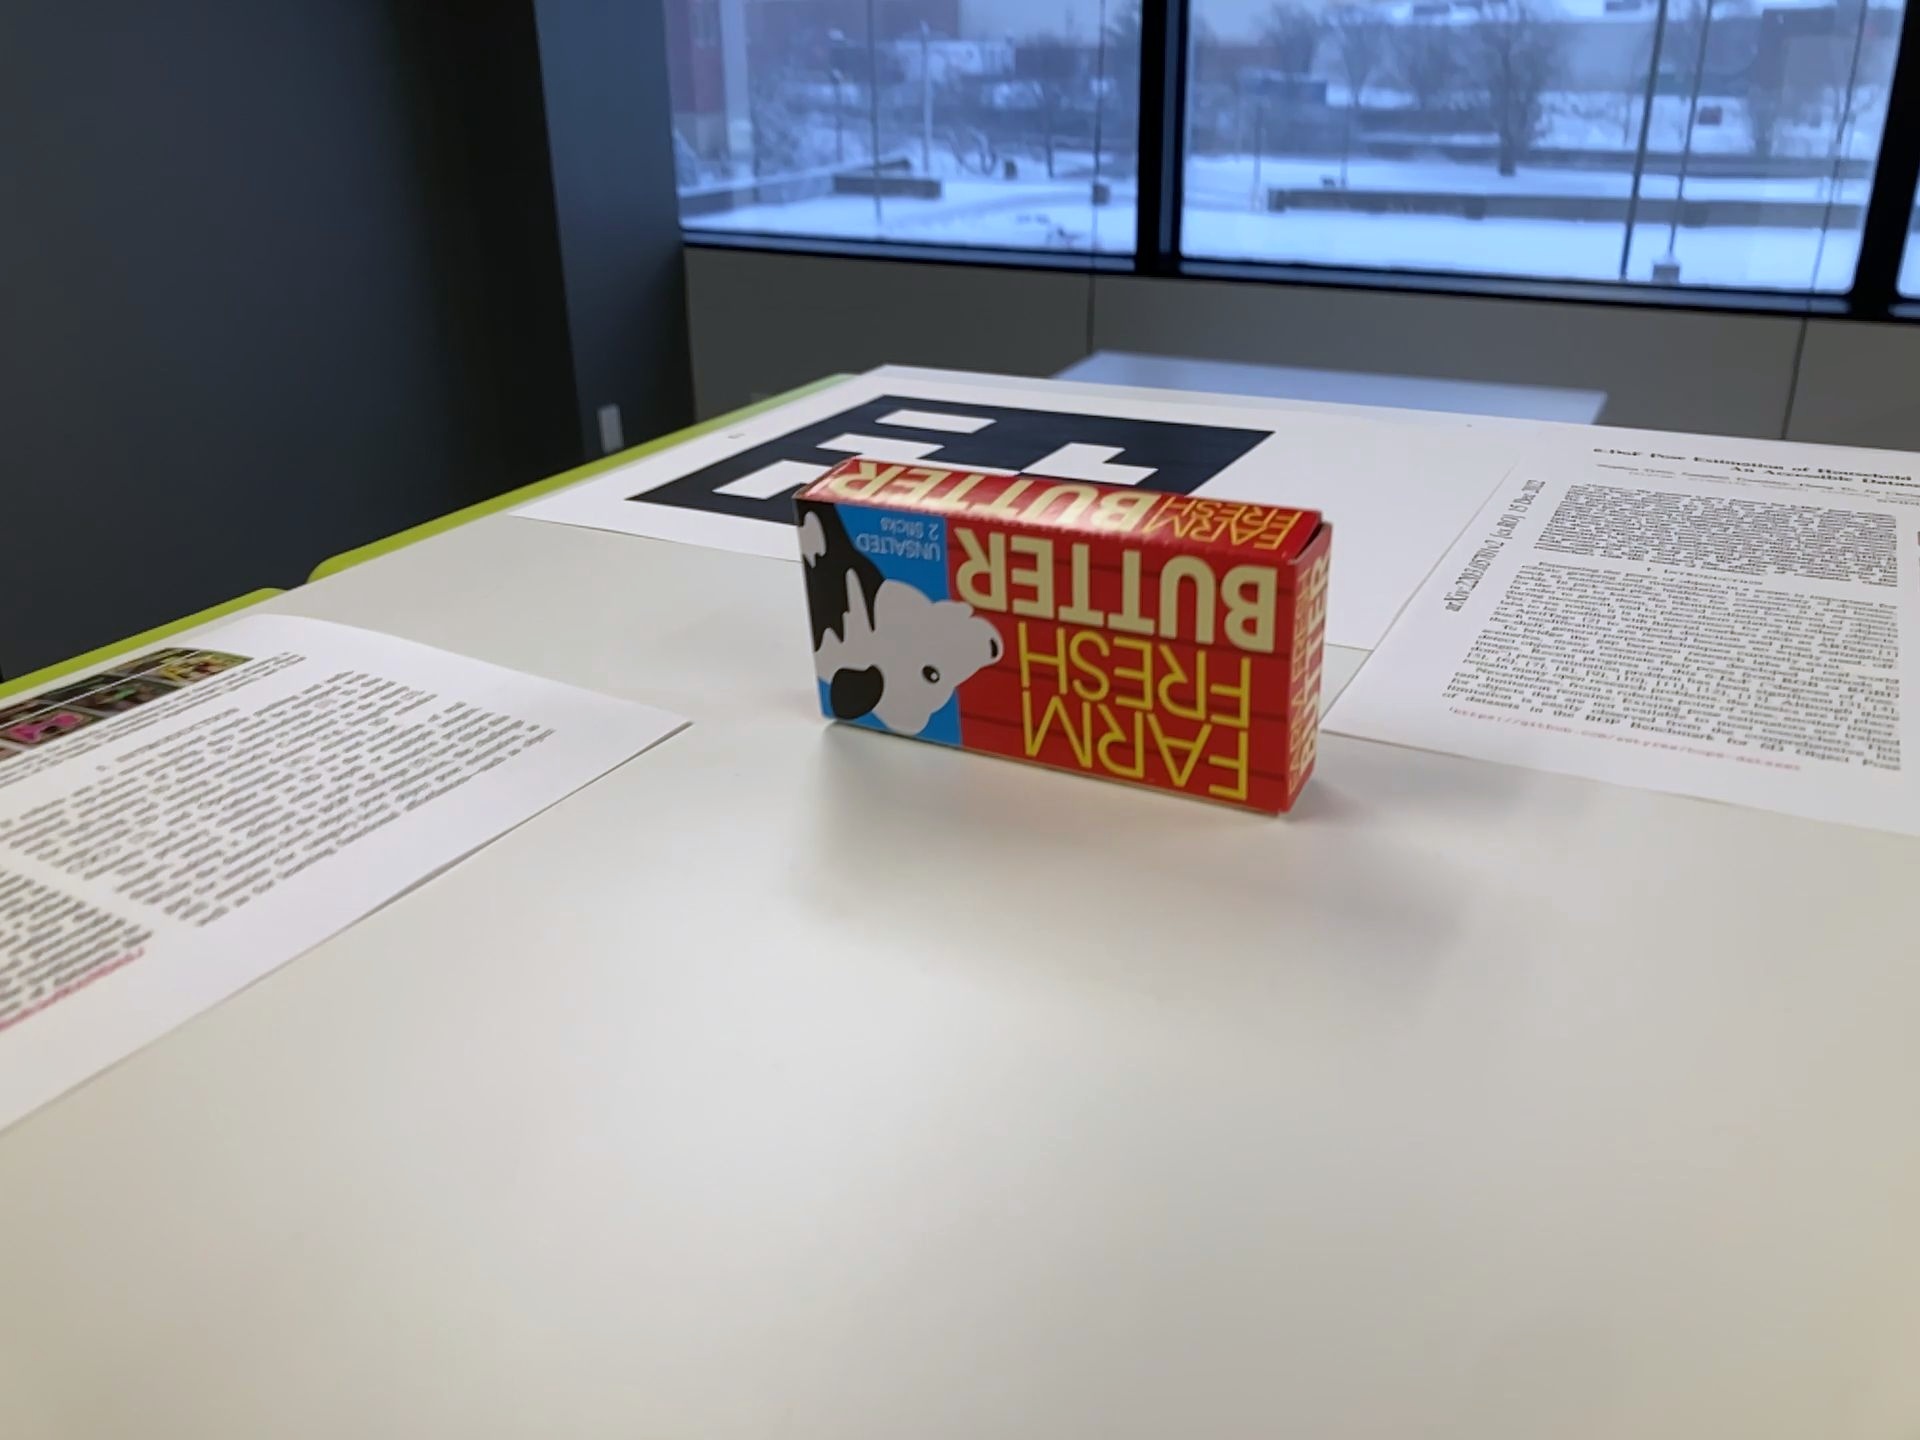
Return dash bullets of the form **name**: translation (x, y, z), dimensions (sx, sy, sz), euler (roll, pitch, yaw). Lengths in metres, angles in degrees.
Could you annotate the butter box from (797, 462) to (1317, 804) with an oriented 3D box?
- **butter box**: translation (0.018, -0.019, 0.318), dimensions (0.103, 0.053, 0.024), euler (10, 31, 26)
